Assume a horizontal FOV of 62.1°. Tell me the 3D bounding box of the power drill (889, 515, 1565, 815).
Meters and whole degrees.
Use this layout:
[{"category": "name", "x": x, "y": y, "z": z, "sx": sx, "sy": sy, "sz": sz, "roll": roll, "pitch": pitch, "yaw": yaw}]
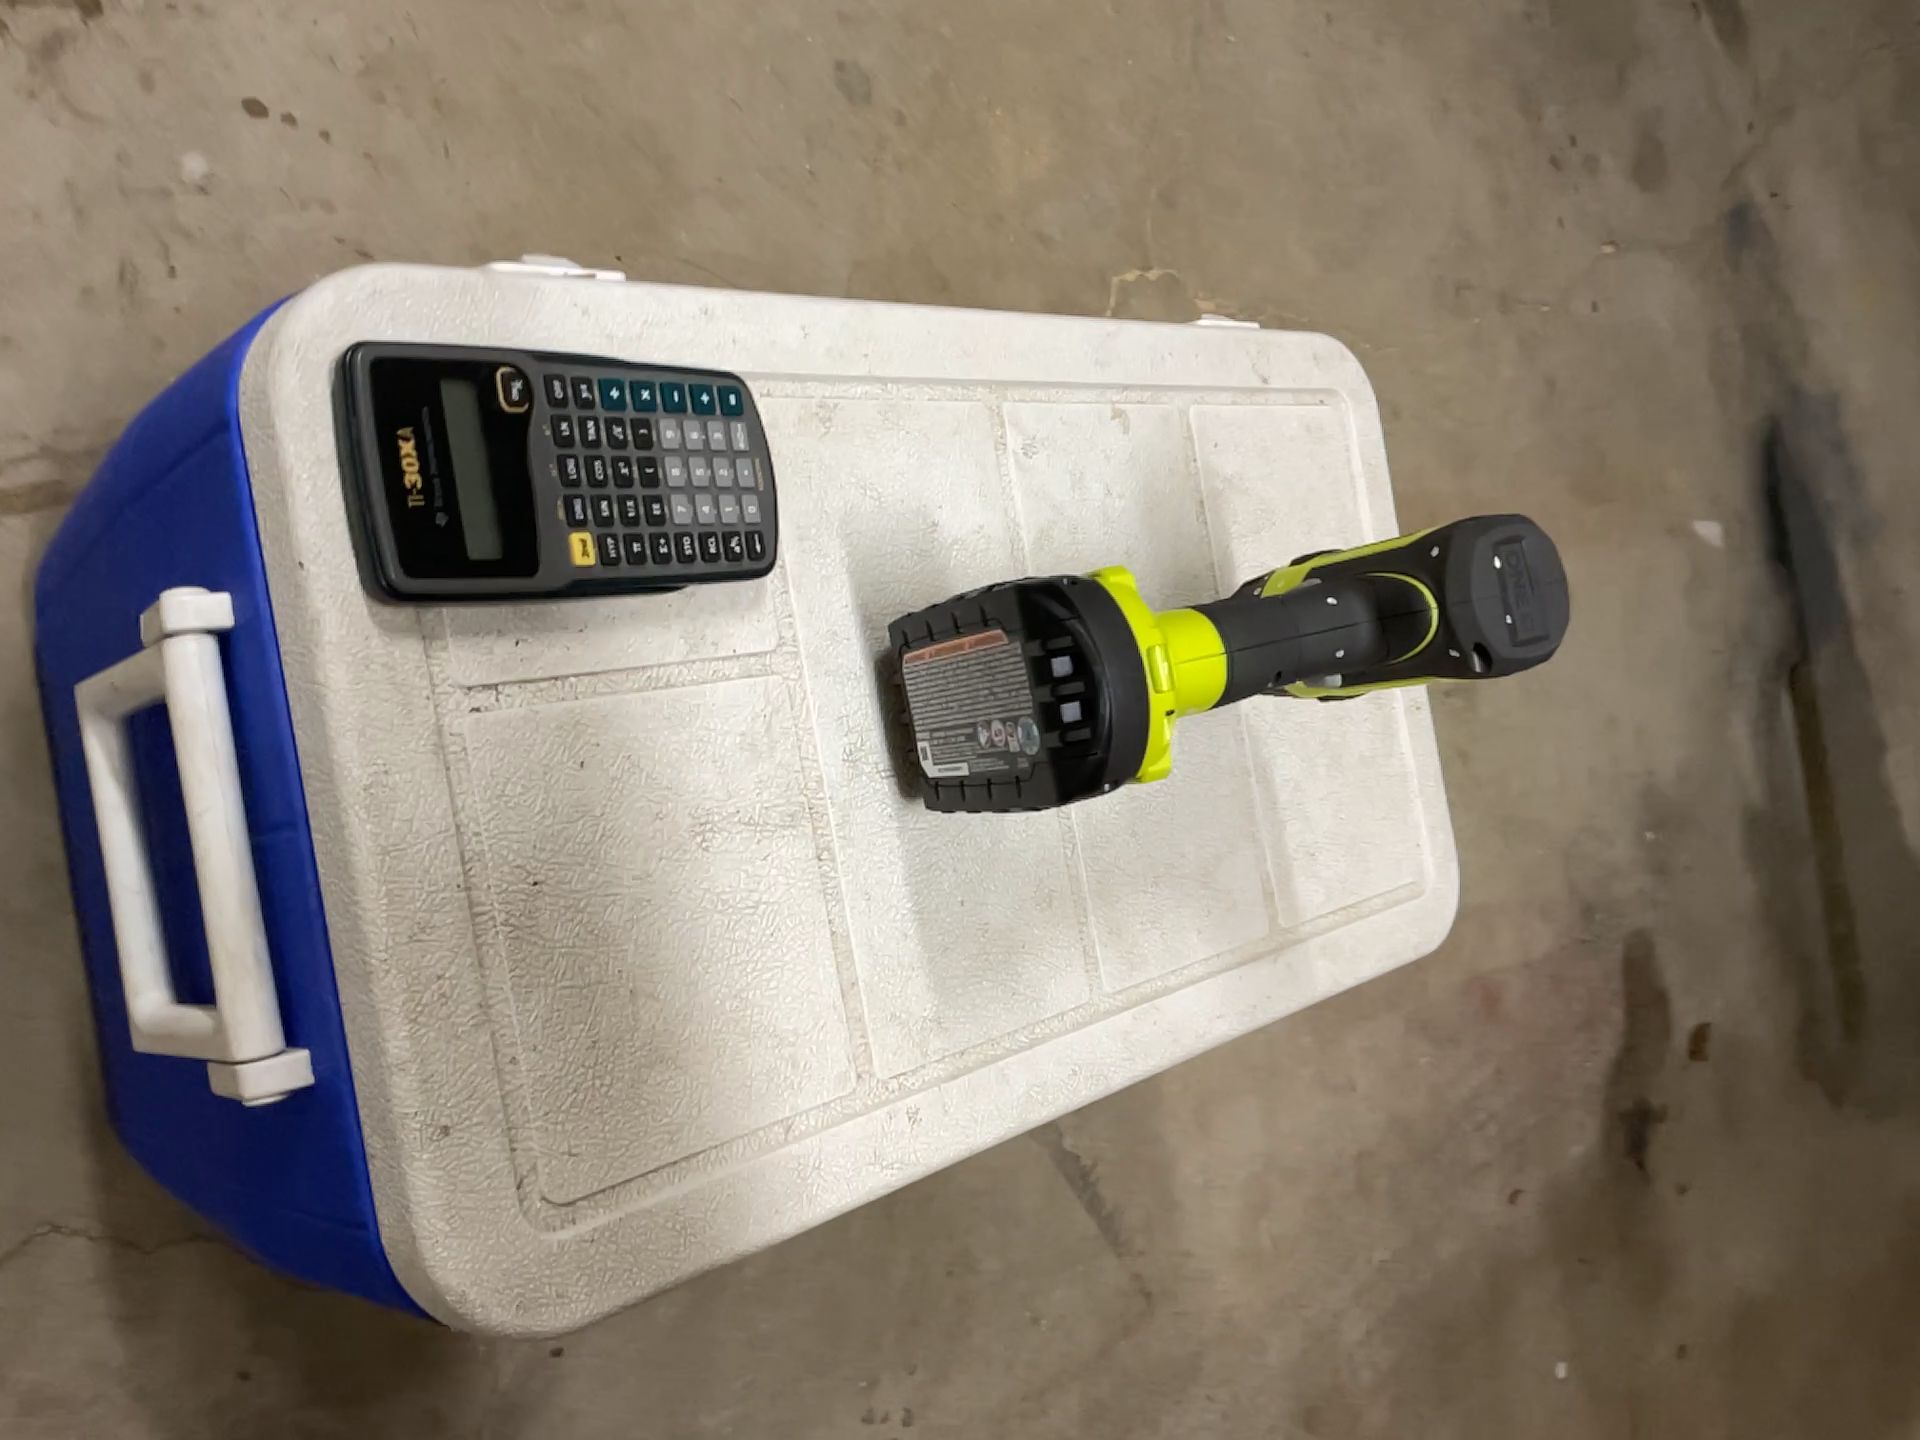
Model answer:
[{"category": "power drill", "x": 0.093, "y": -0.025, "z": 0.633, "sx": 0.229, "sy": 0.190, "sz": 0.080, "roll": -13, "pitch": 92, "yaw": -29}]
